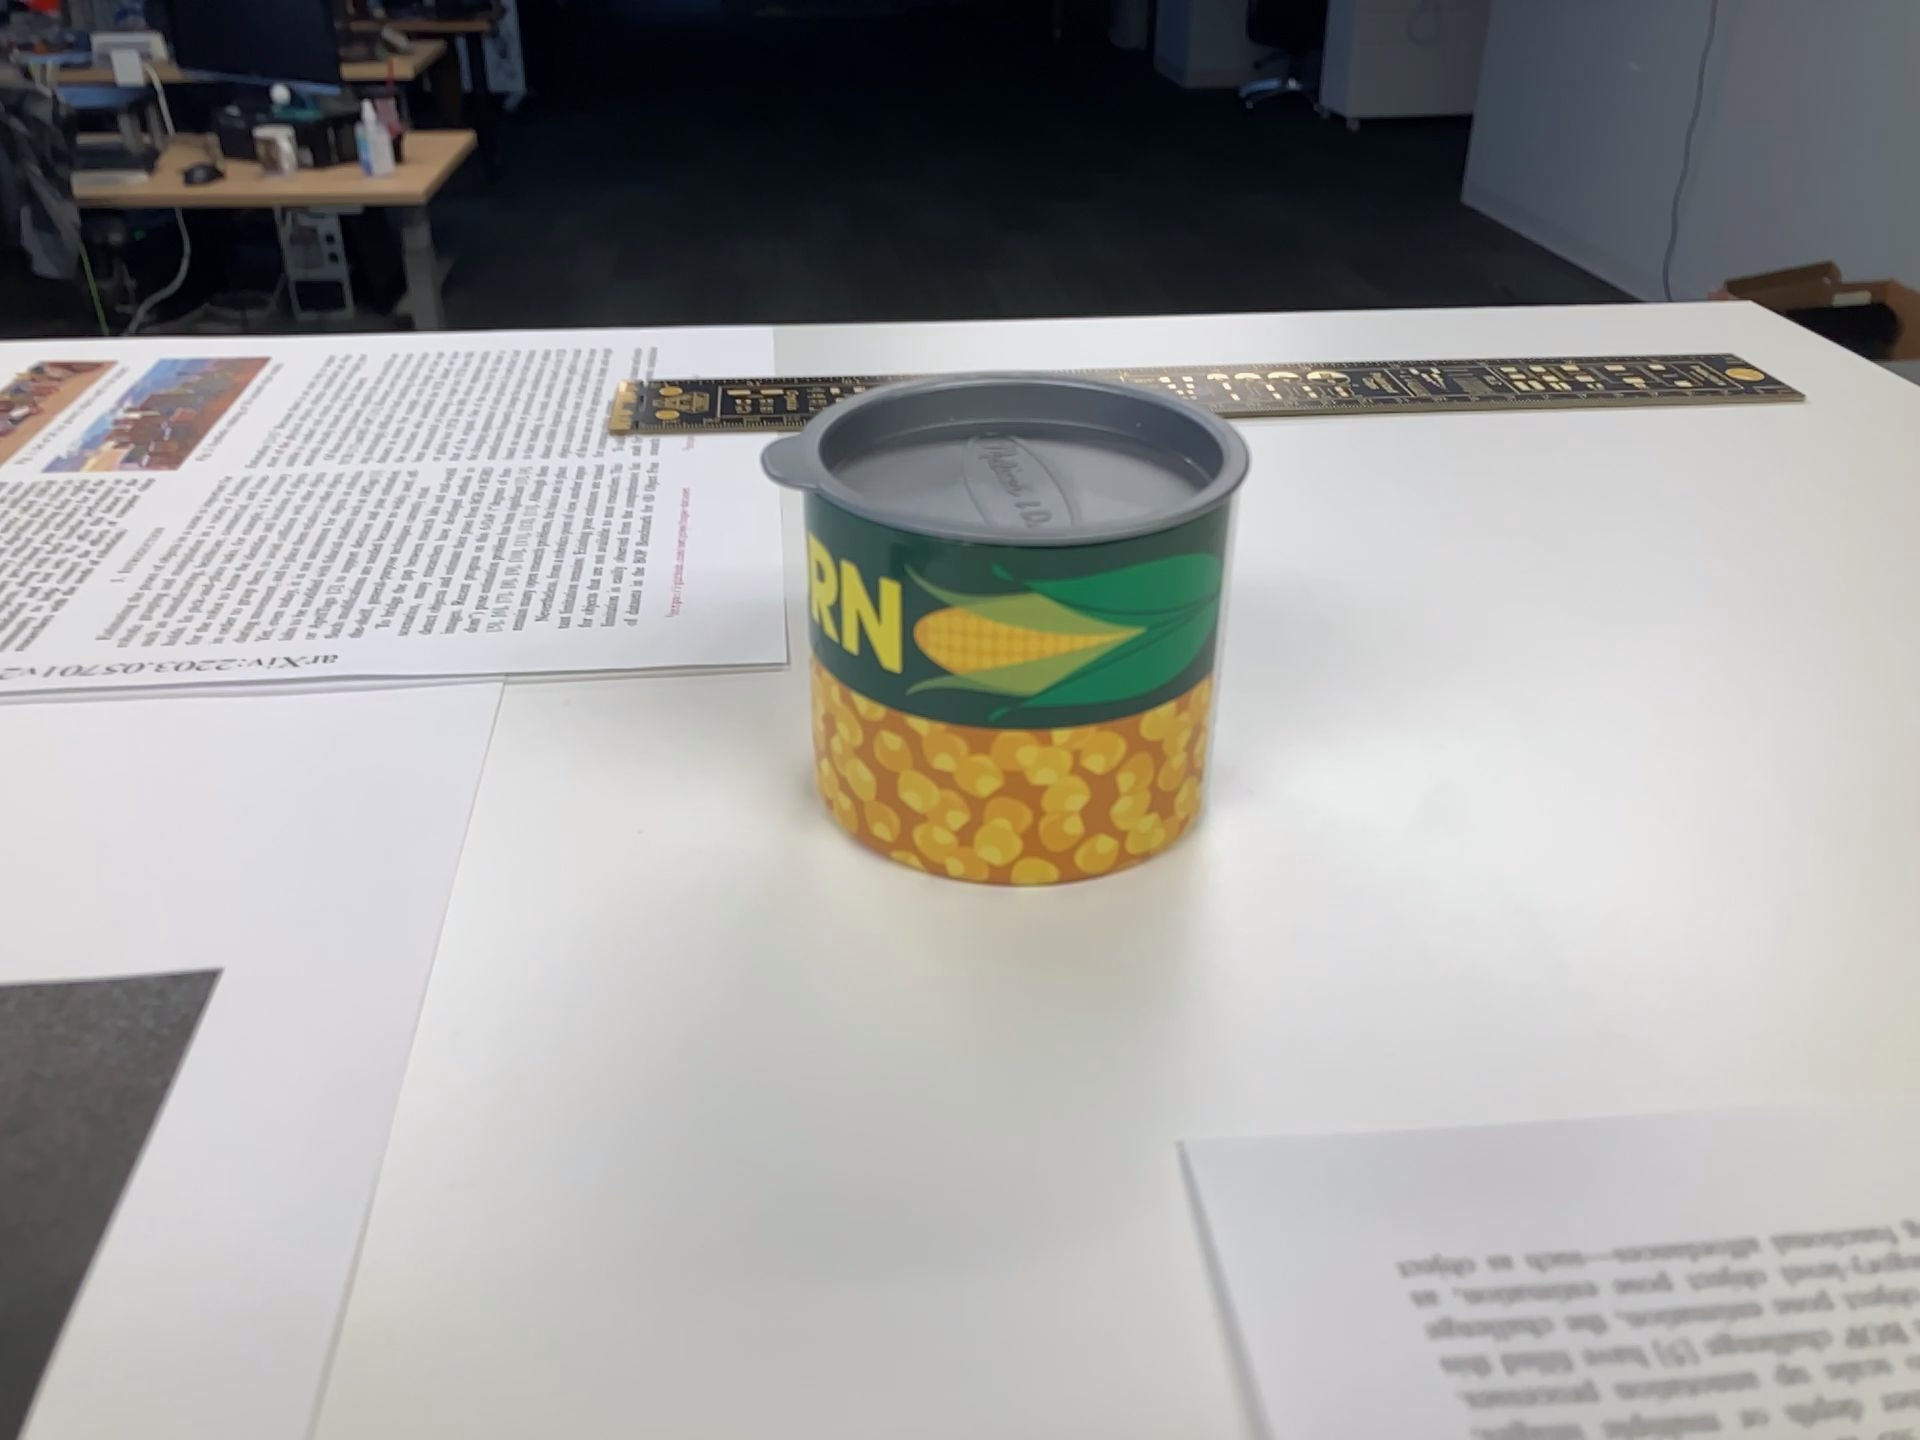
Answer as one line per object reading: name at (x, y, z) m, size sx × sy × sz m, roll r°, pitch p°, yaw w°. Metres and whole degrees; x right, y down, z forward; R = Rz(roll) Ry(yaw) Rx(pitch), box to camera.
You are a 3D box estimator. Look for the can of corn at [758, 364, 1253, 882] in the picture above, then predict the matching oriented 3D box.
can of corn at (0.006, -0.016, 0.244) m, size 0.071 × 0.058 × 0.071 m, roll 0°, pitch 30°, yaw 0°
